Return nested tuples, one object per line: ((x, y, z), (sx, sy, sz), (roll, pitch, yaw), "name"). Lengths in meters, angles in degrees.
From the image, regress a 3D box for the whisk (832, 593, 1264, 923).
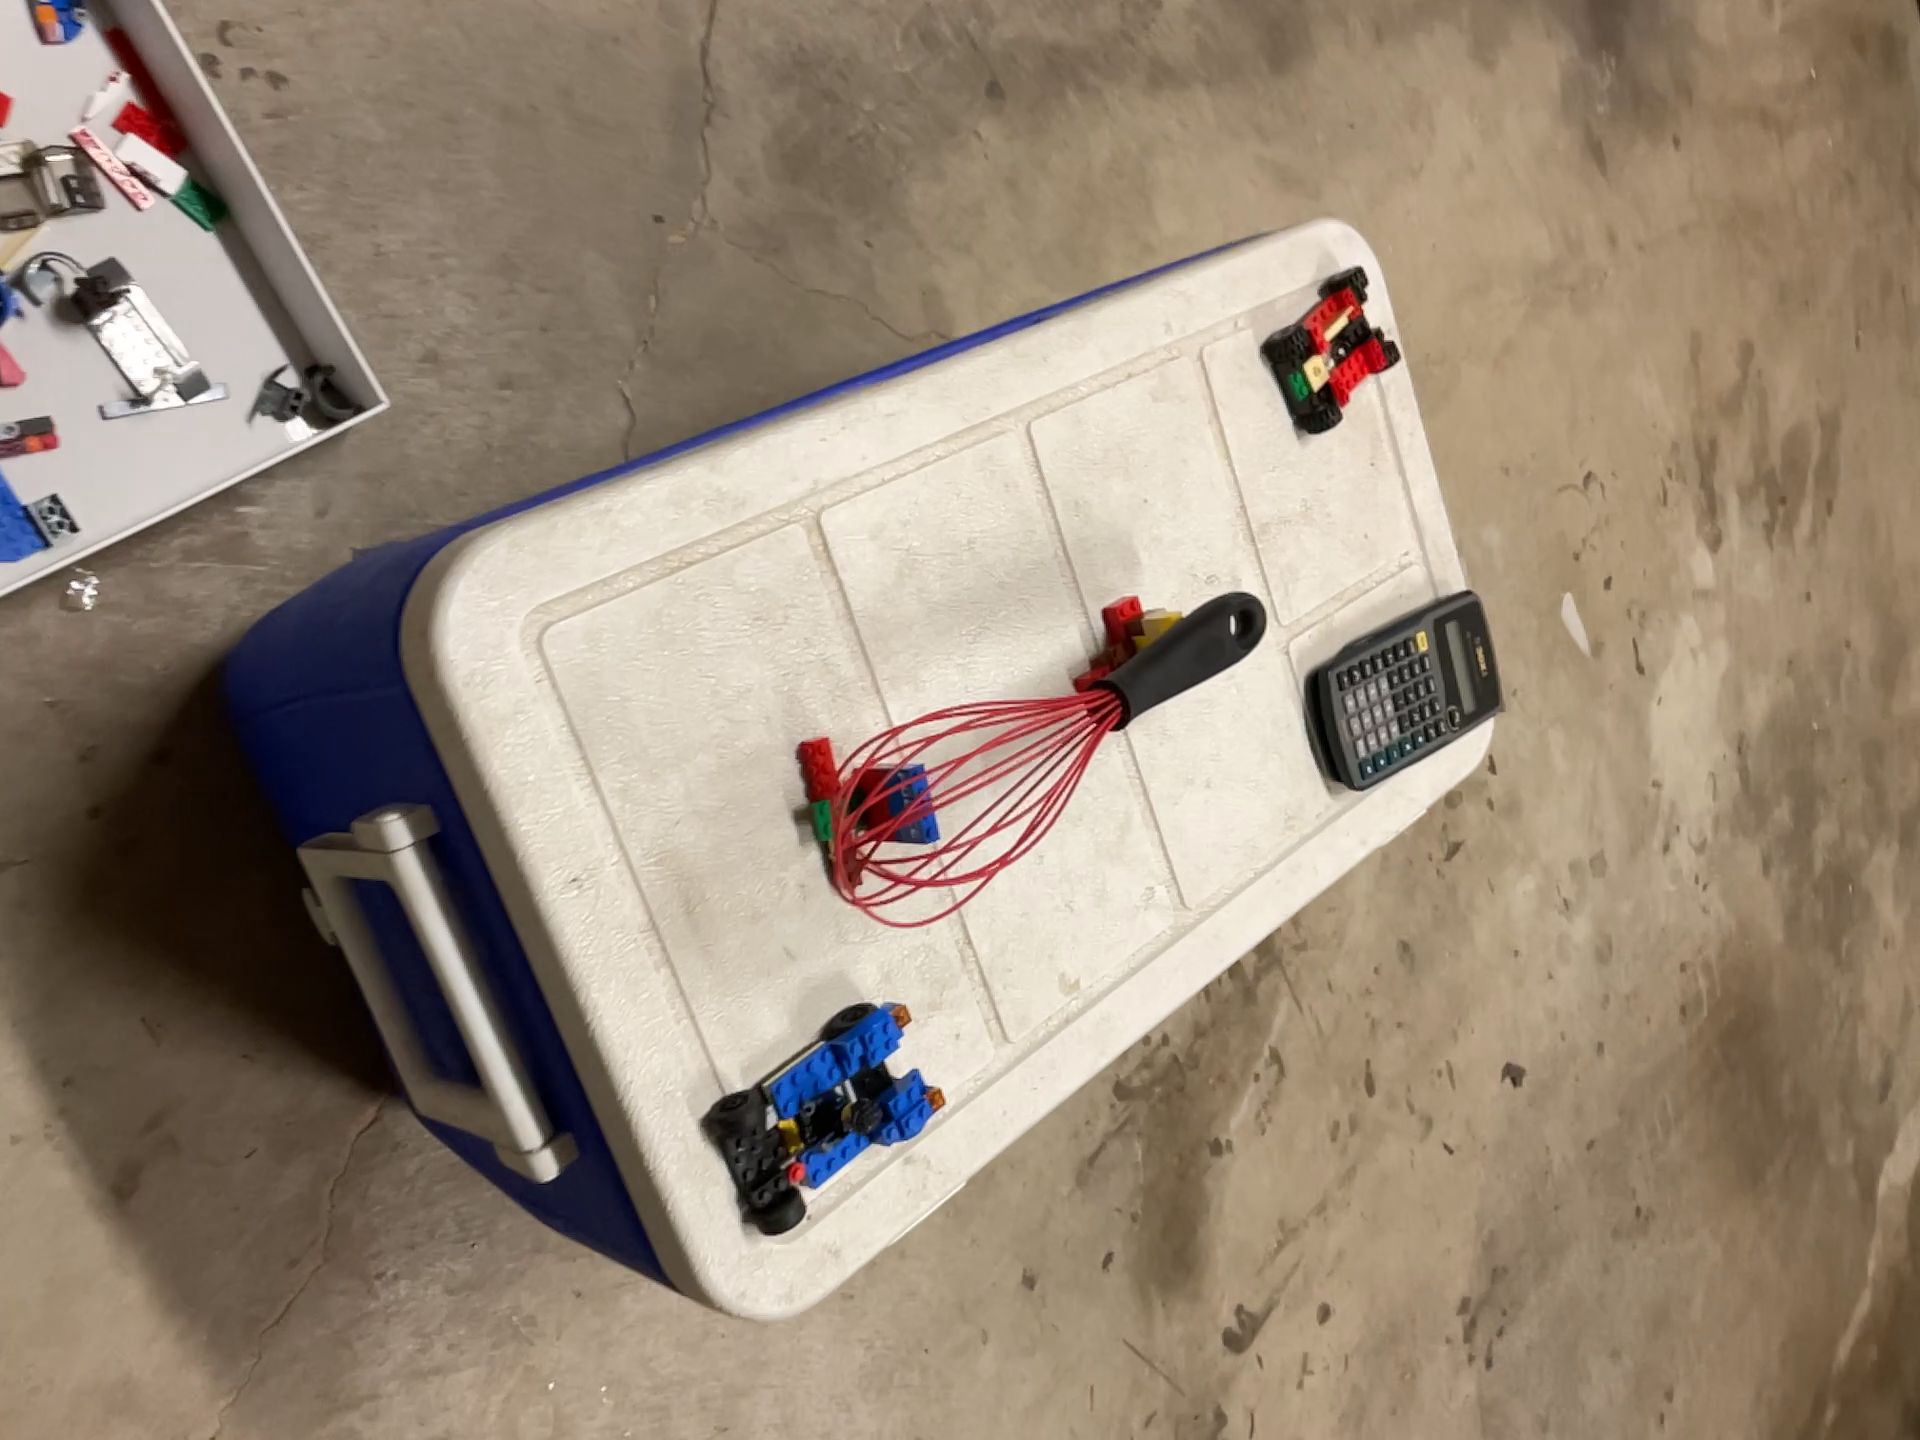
((0.049, 0.001, 0.658), (0.296, 0.073, 0.073), (-30, 104, -45), "whisk")
